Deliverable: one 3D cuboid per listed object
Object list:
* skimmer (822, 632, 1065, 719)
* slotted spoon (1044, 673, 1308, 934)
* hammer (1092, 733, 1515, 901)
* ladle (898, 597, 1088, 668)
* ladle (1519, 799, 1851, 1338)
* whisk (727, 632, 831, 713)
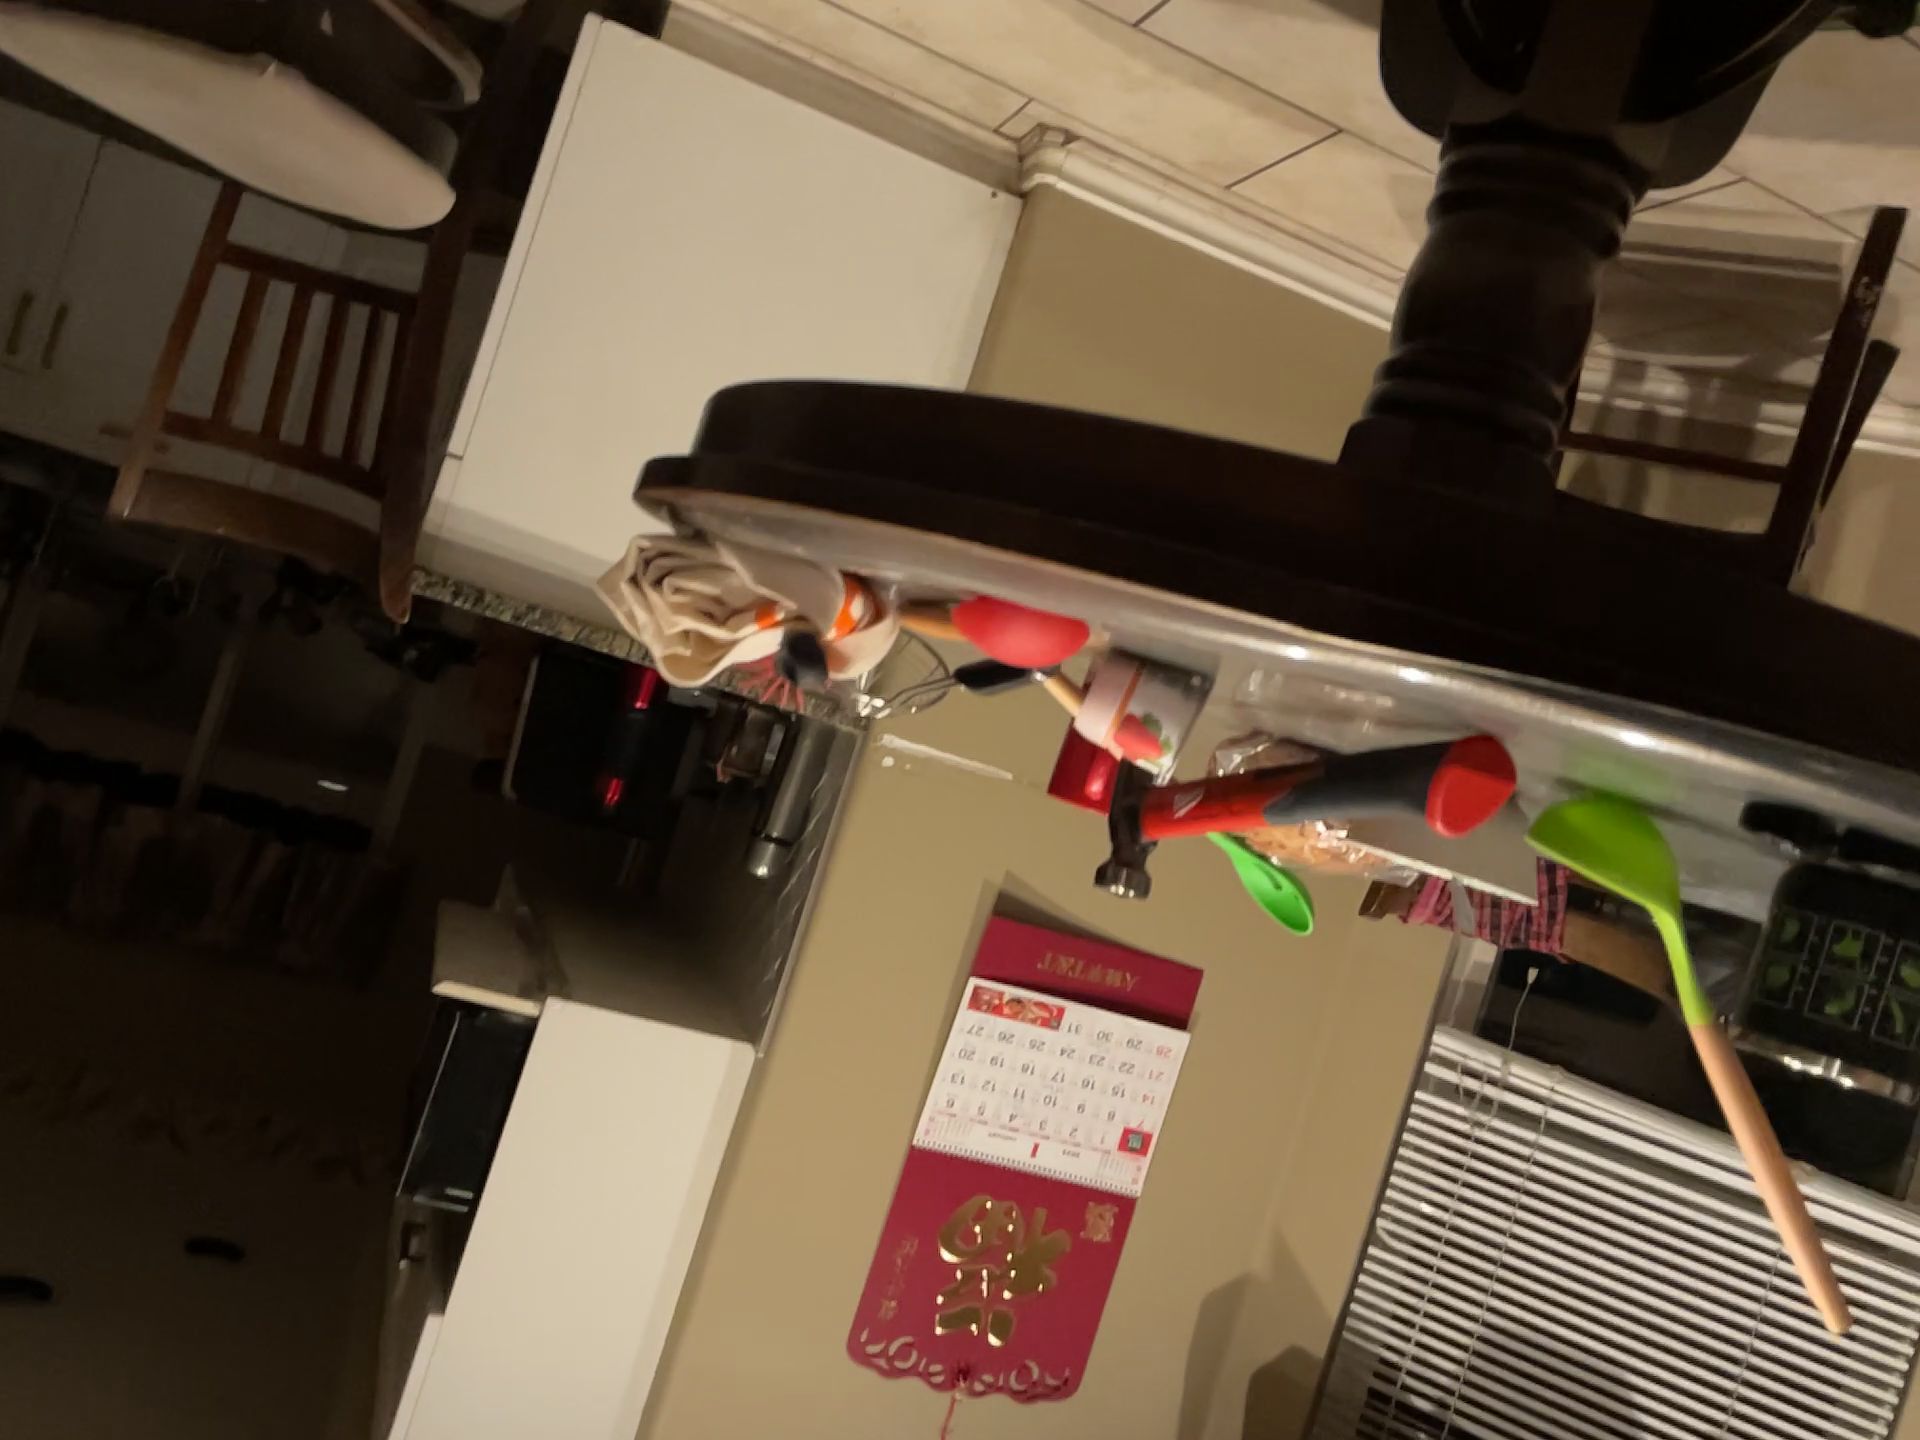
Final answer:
[{"bbox_3d":[-0.015,-0.055,1.155,0.127,0.090,0.363,10,172,-23],"label":"skimmer"},{"bbox_3d":[0.157,0.054,1.161,0.313,0.031,0.070,43,165,-22],"label":"slotted spoon"},{"bbox_3d":[0.177,0.028,0.894,0.038,0.143,0.386,17,168,-16],"label":"hammer"},{"bbox_3d":[-0.002,-0.056,0.903,0.069,0.031,0.315,19,-179,-16],"label":"ladle"},{"bbox_3d":[0.382,0.184,0.823,0.062,0.320,0.078,-25,-175,9],"label":"ladle"},{"bbox_3d":[-0.108,-0.037,0.992,0.073,0.073,0.296,19,179,-10],"label":"whisk"}]
